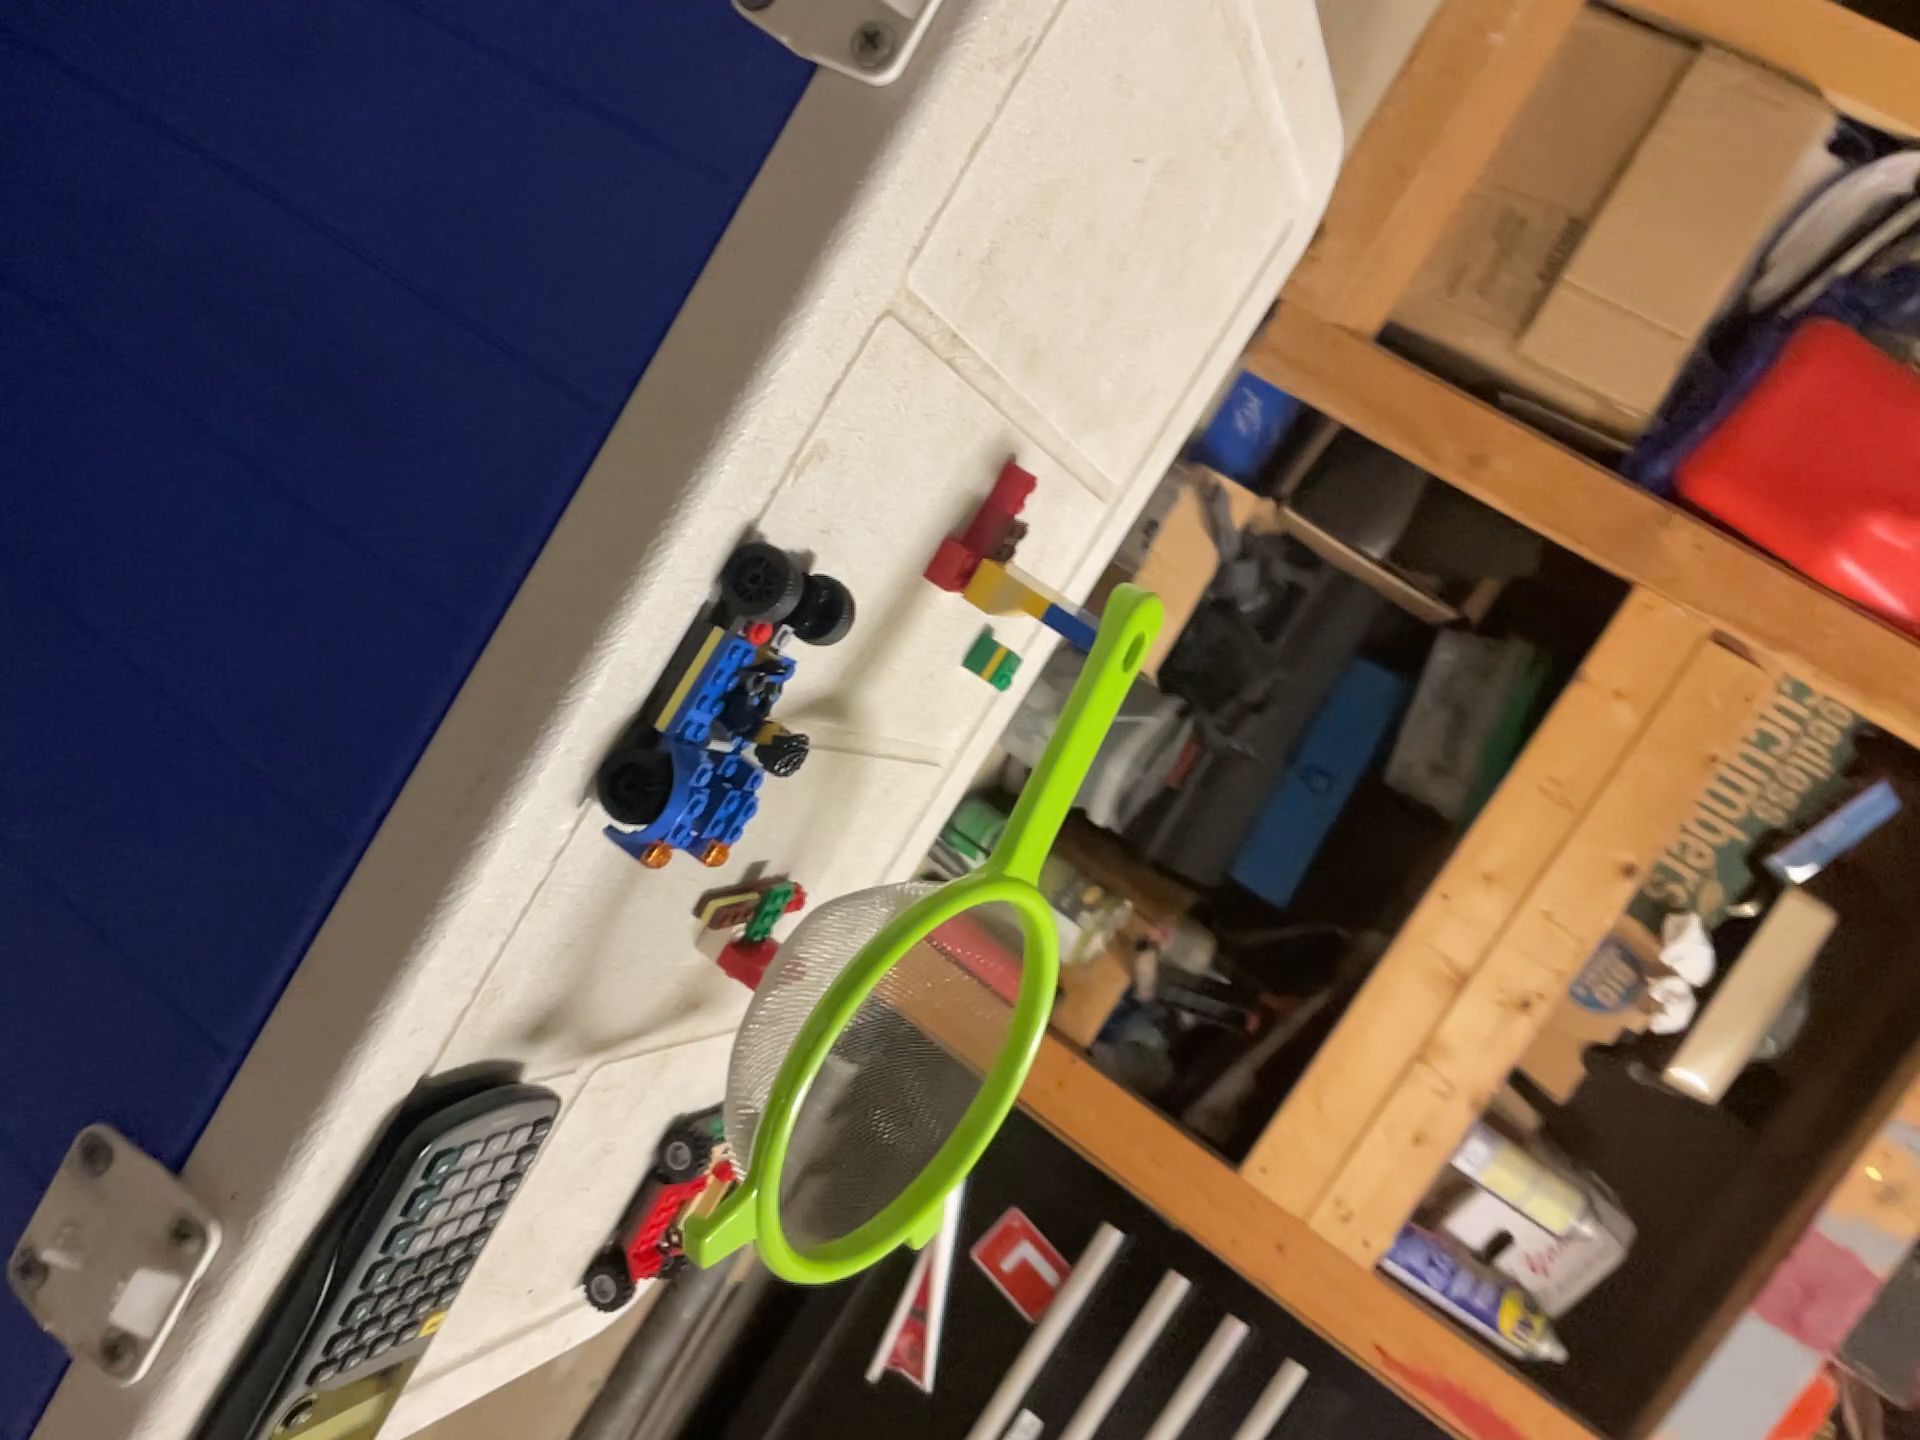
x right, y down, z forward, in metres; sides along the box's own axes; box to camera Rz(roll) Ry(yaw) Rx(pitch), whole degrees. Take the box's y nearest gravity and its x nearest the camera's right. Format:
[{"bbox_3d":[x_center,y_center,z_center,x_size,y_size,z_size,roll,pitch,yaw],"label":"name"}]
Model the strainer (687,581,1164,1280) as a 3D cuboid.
[{"bbox_3d":[-0.012,0.061,0.552,0.151,0.069,0.256,28,87,-59],"label":"strainer"}]
